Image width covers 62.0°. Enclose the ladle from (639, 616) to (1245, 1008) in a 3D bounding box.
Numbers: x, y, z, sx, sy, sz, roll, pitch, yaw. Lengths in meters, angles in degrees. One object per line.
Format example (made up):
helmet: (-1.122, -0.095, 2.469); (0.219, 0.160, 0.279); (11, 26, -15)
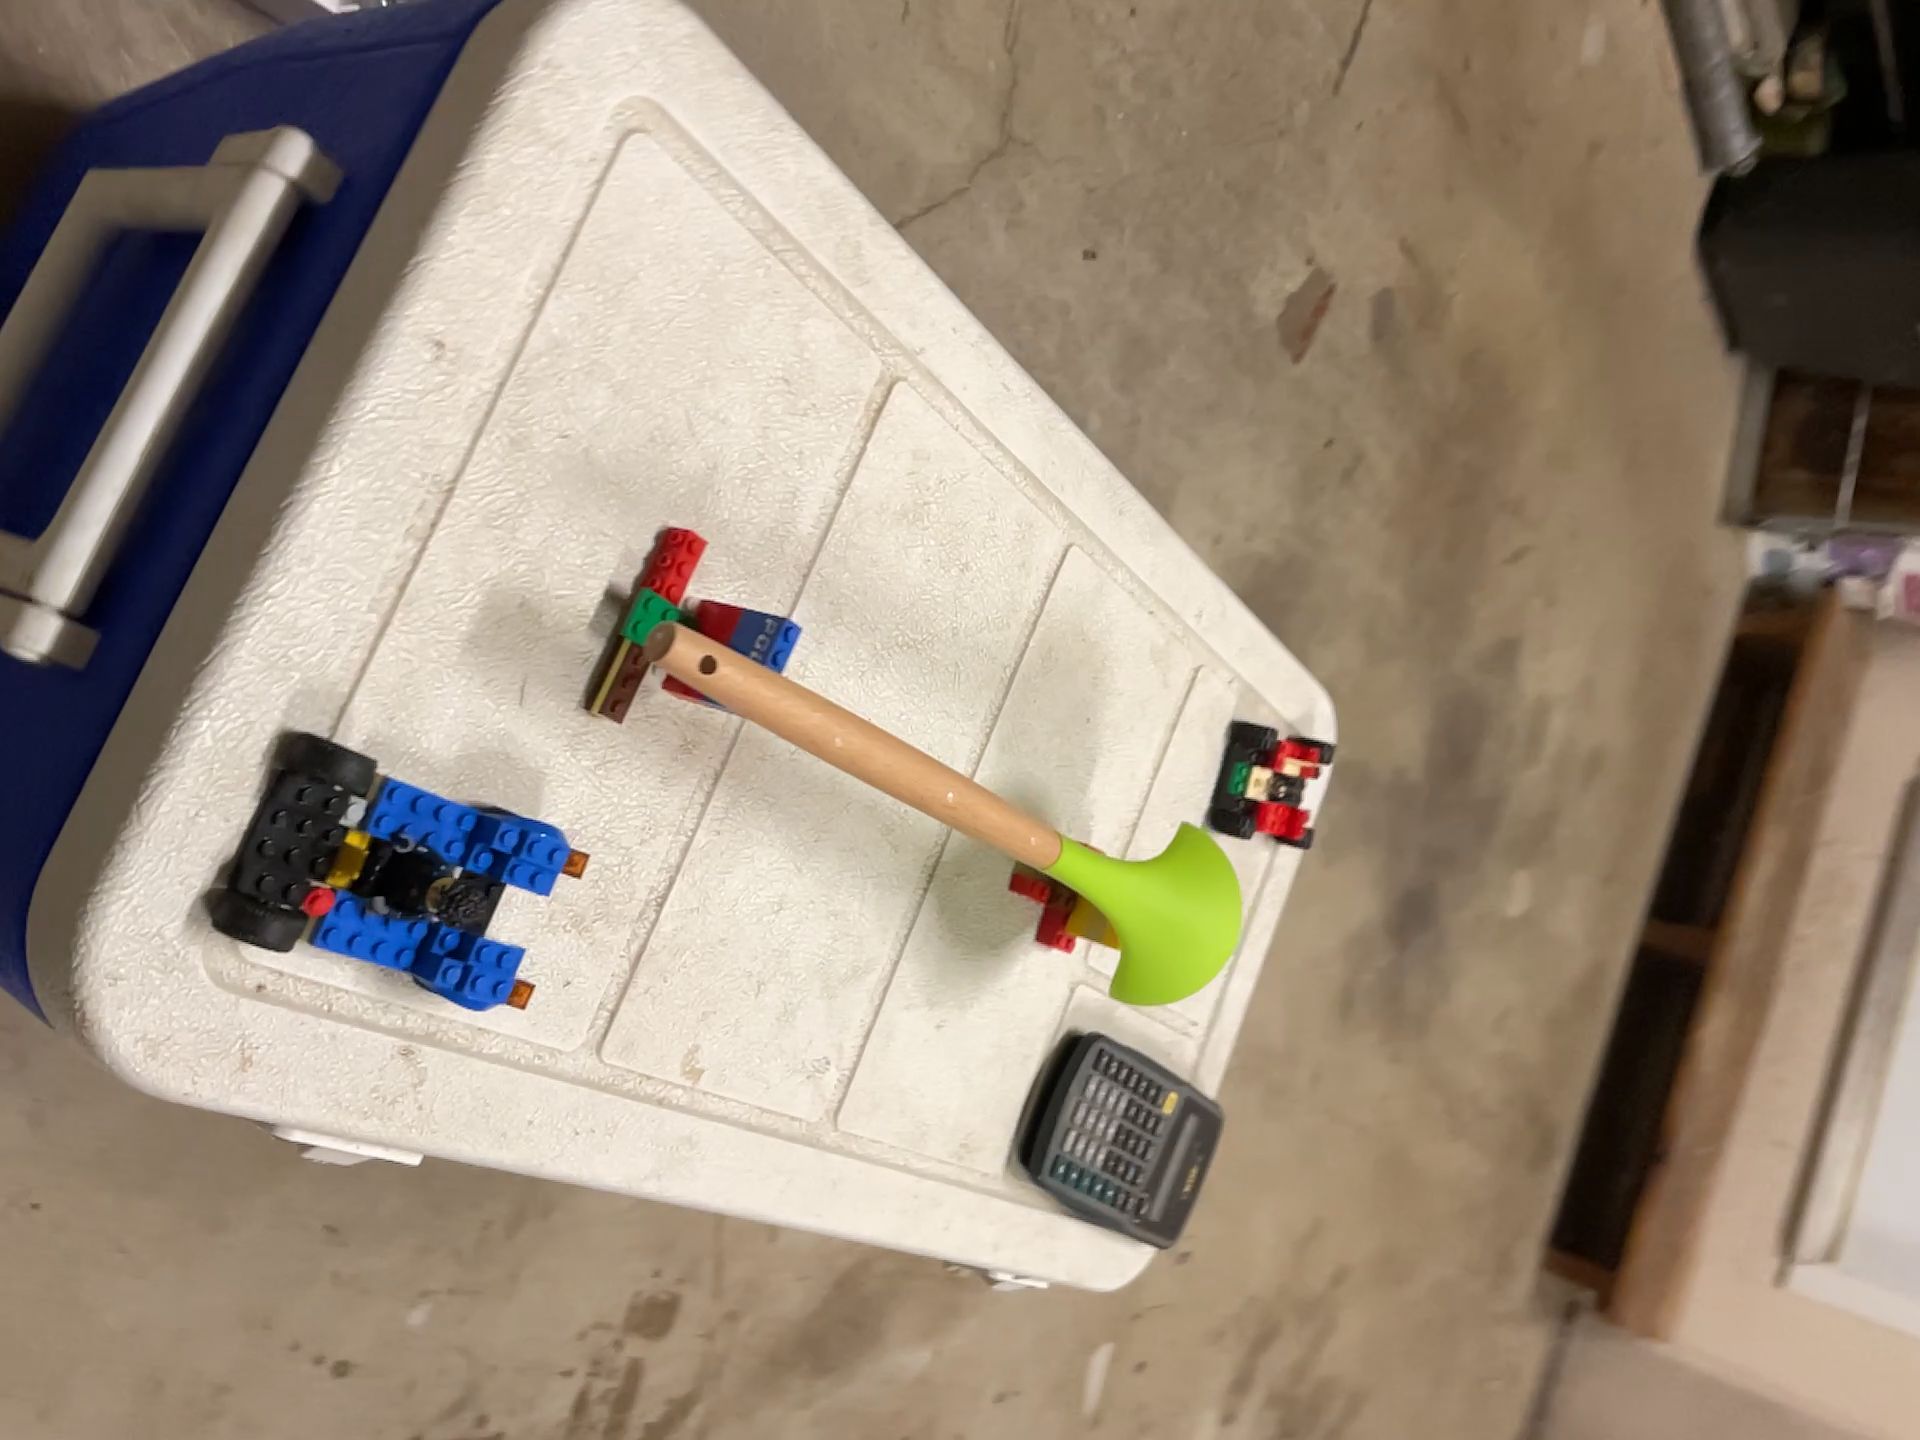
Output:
ladle: (0.006, 0.033, 0.557); (0.320, 0.062, 0.078); (31, 83, -44)
